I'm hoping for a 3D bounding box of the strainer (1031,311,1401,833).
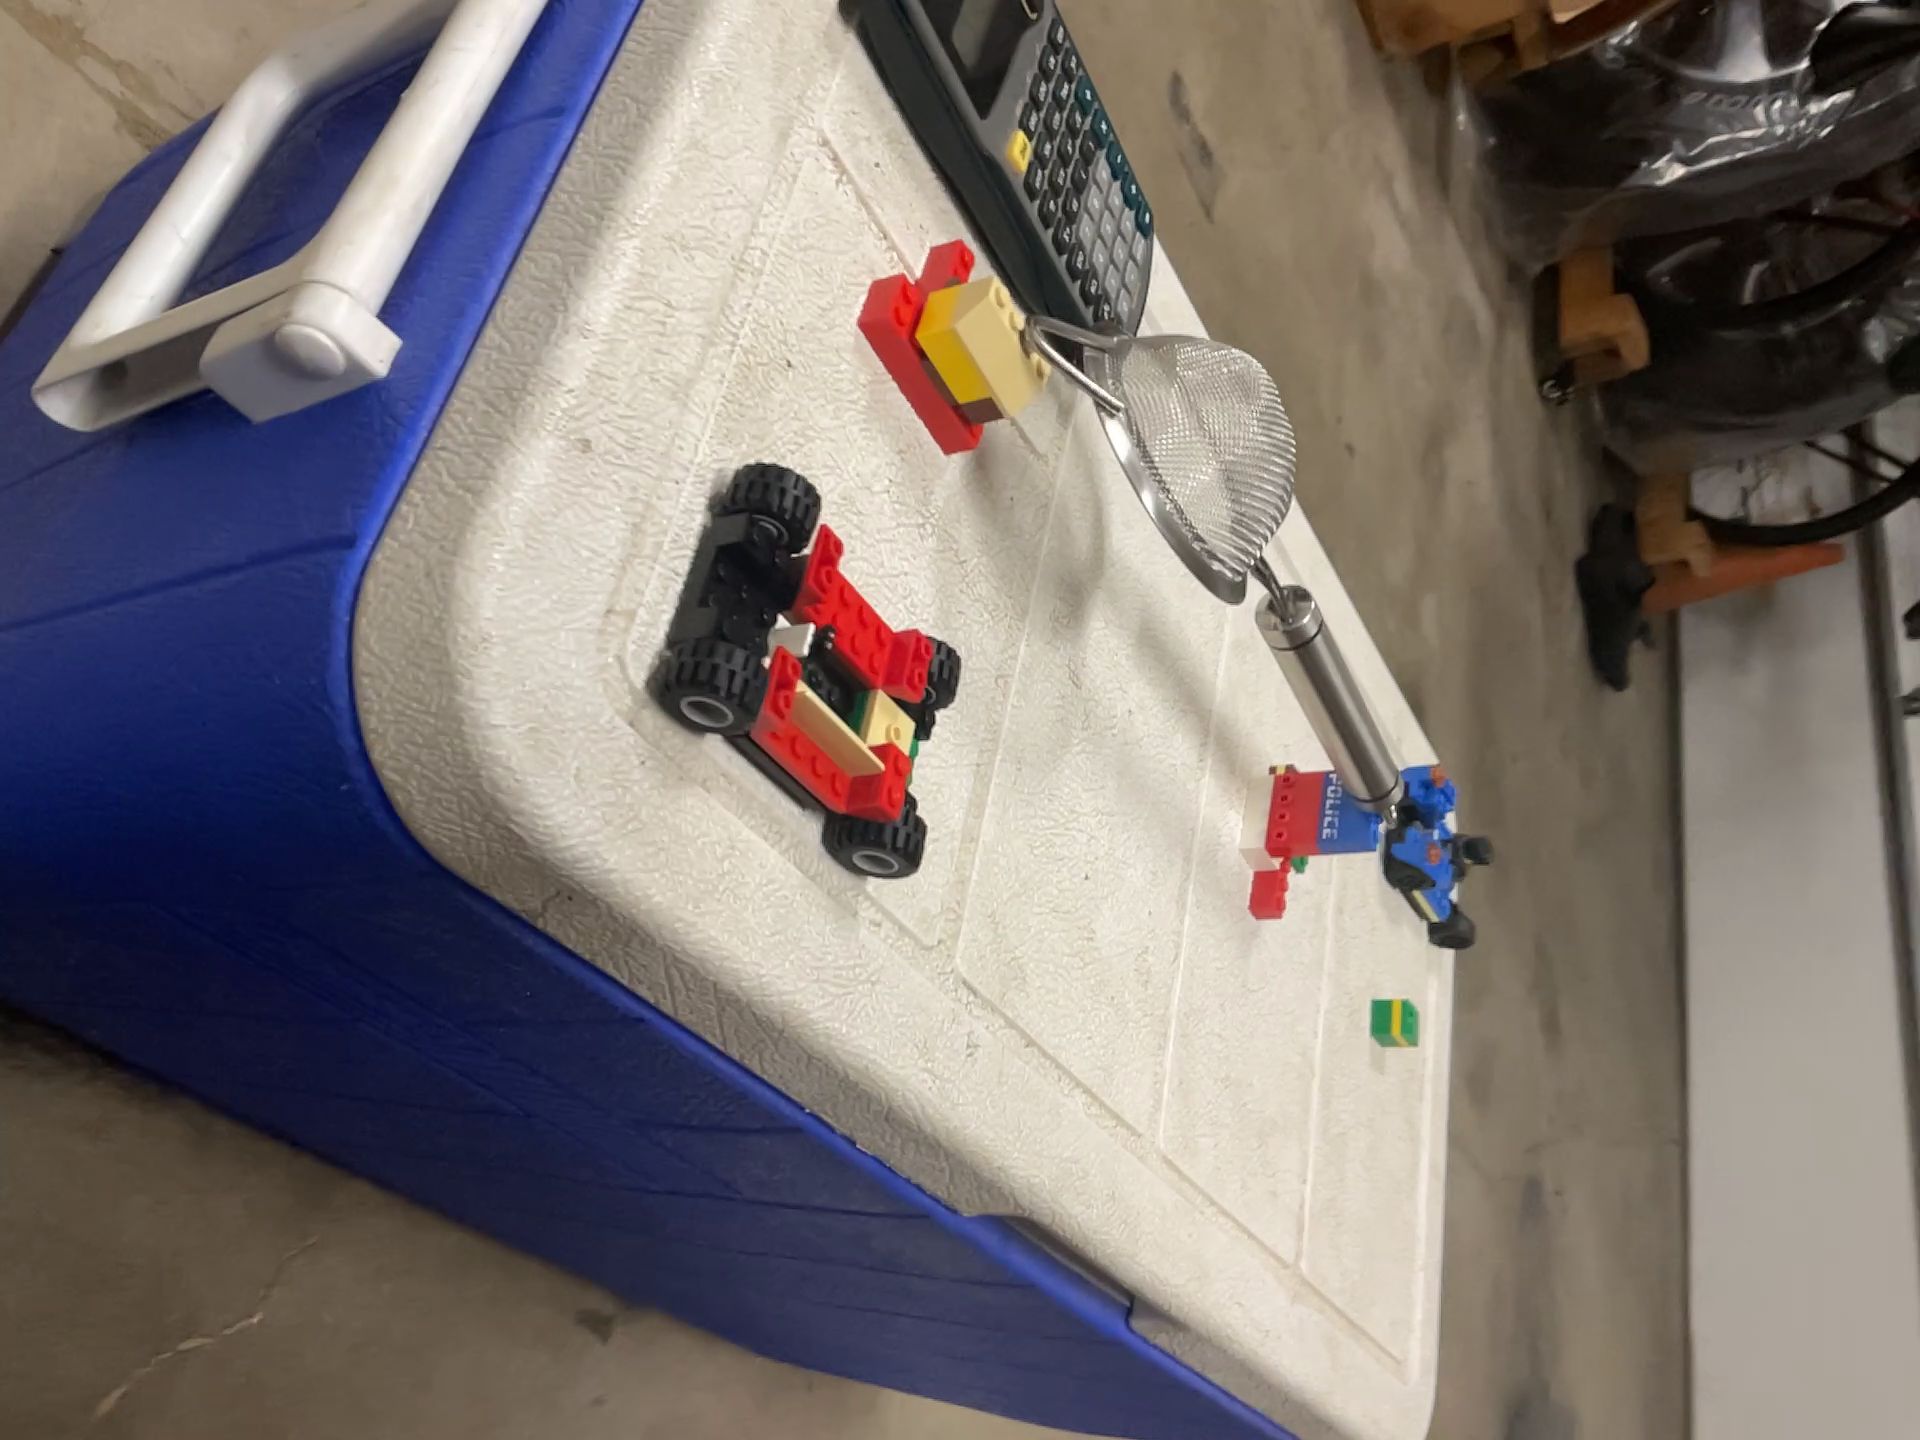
[{"bbox_3d":[0.097,-0.036,0.484,0.258,0.050,0.087,51,27,-44],"label":"strainer"}]
